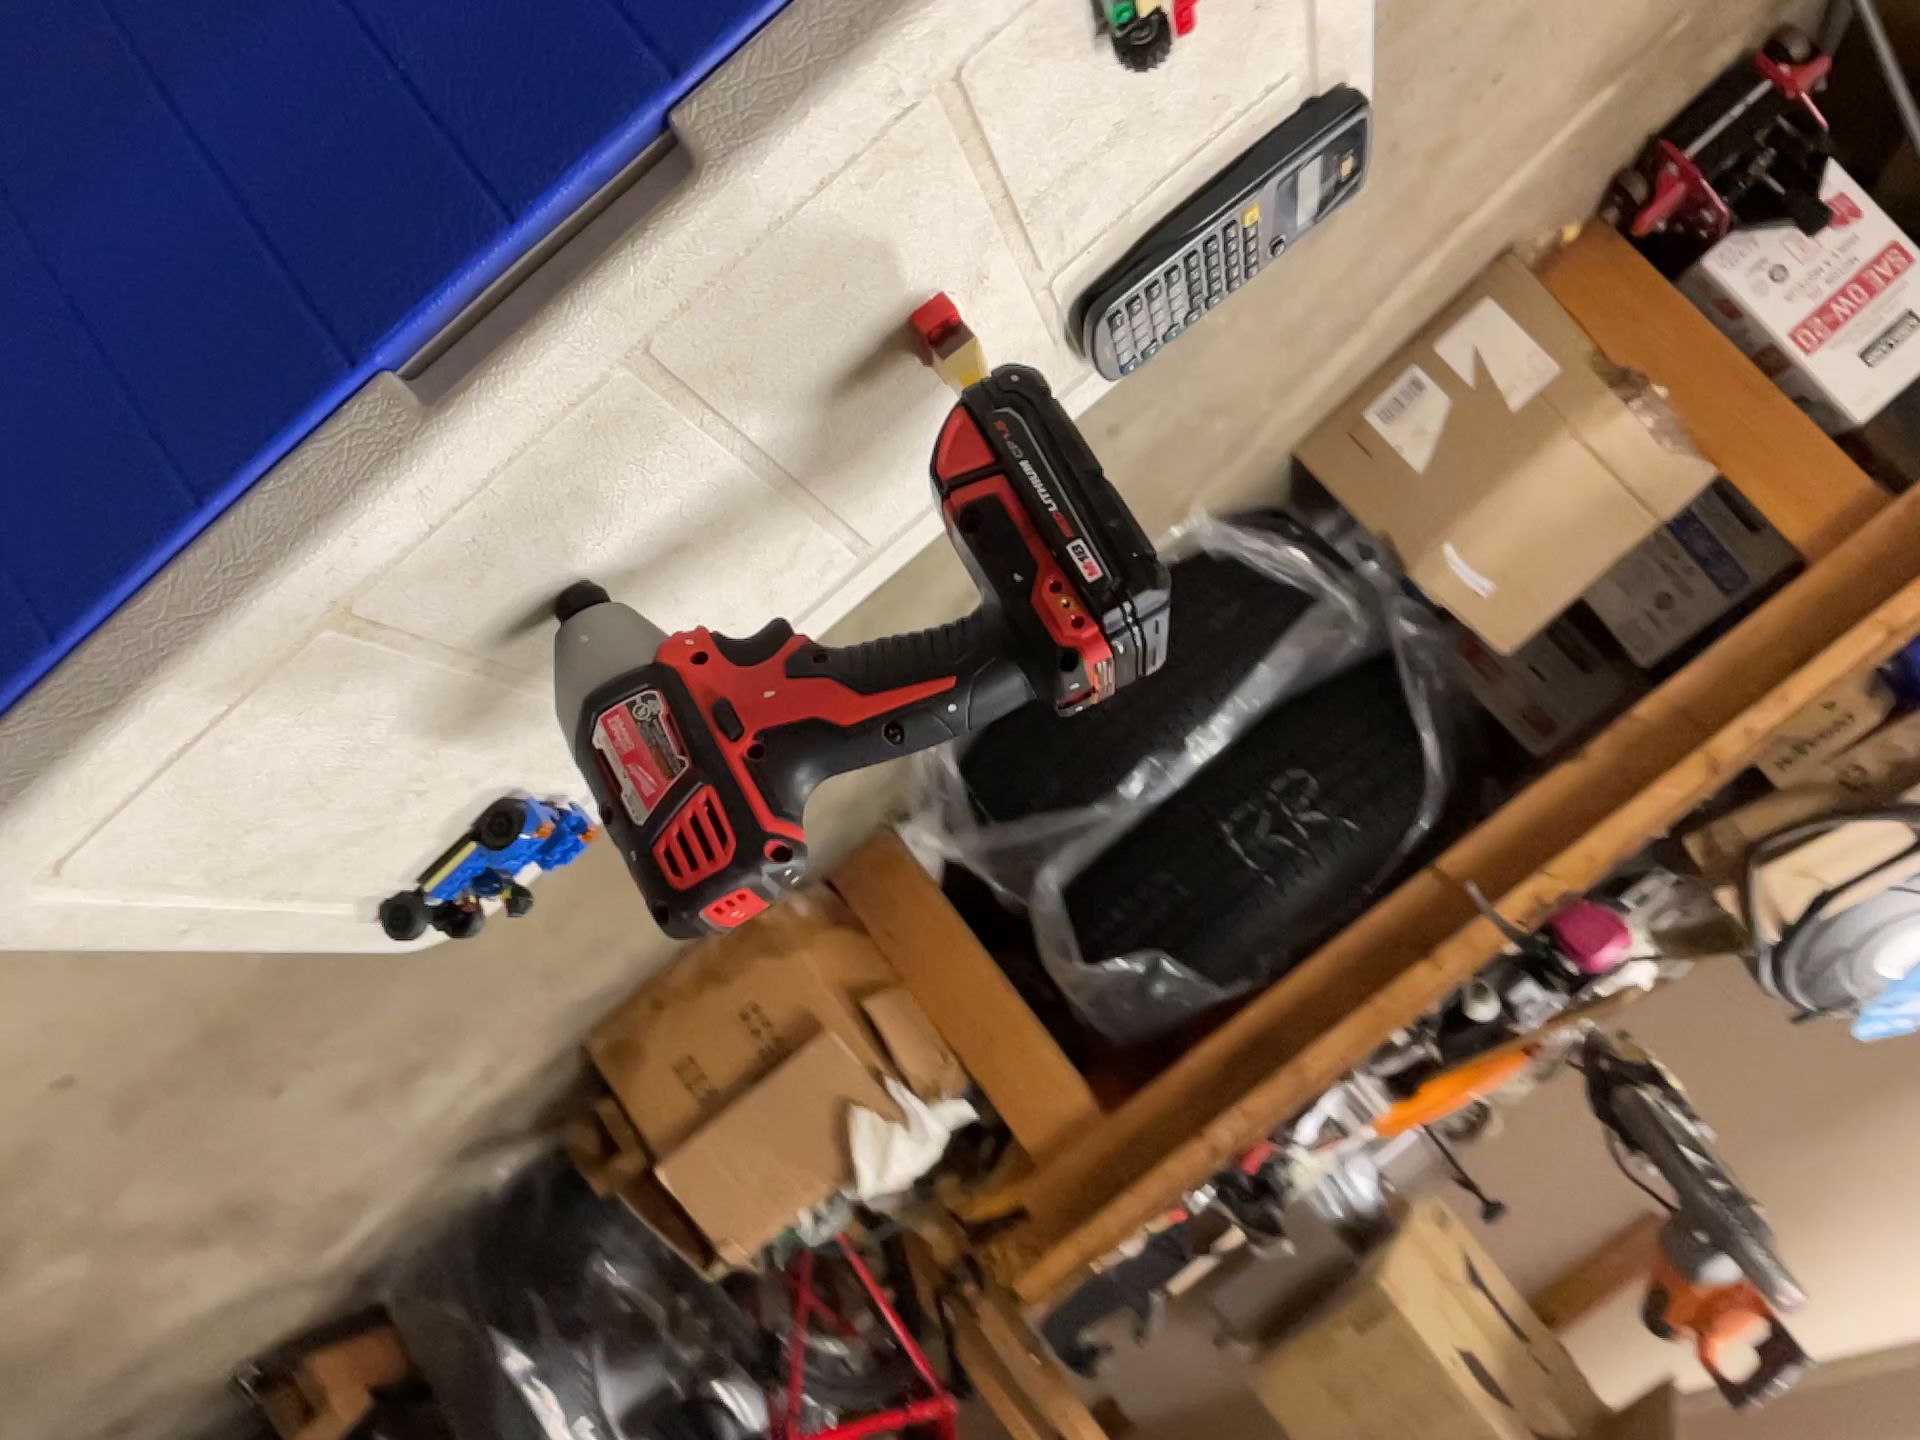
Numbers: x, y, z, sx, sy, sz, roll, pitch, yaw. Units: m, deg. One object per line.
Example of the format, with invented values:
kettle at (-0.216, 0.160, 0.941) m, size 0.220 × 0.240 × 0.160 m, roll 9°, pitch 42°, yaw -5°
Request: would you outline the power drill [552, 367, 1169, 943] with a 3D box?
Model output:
power drill at (-0.044, -0.029, 0.593) m, size 0.219 × 0.143 × 0.078 m, roll -30°, pitch 163°, yaw -3°
